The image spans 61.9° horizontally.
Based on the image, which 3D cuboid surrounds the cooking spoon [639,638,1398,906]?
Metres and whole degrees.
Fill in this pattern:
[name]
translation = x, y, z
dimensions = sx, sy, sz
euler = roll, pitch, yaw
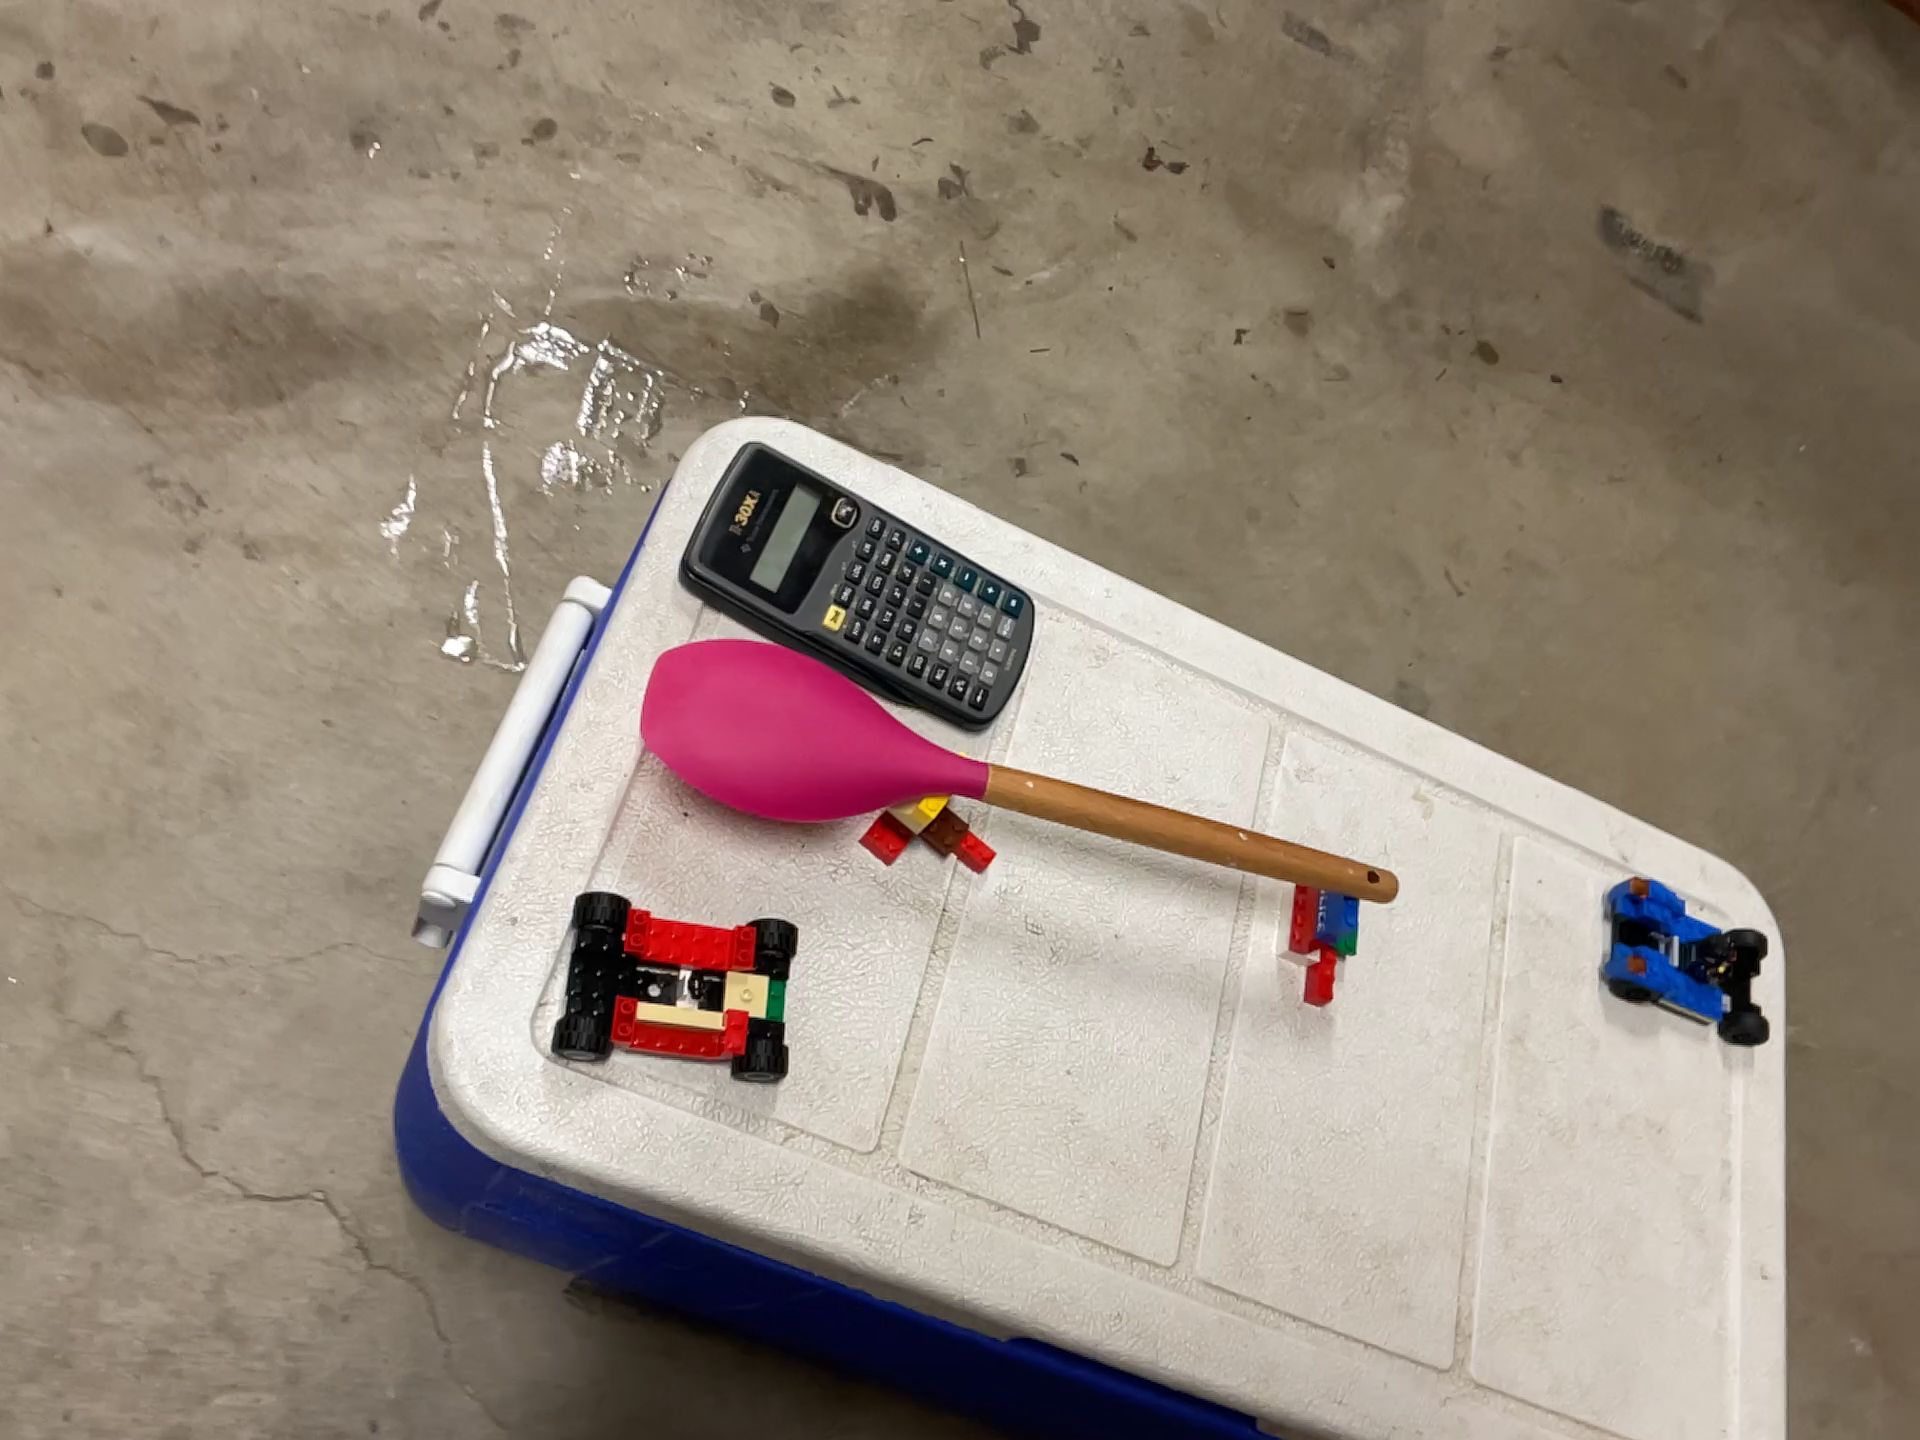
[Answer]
[cooking spoon]
translation = 0.033, 0.030, 0.629
dimensions = 0.319, 0.017, 0.069
euler = 15, 66, -16
